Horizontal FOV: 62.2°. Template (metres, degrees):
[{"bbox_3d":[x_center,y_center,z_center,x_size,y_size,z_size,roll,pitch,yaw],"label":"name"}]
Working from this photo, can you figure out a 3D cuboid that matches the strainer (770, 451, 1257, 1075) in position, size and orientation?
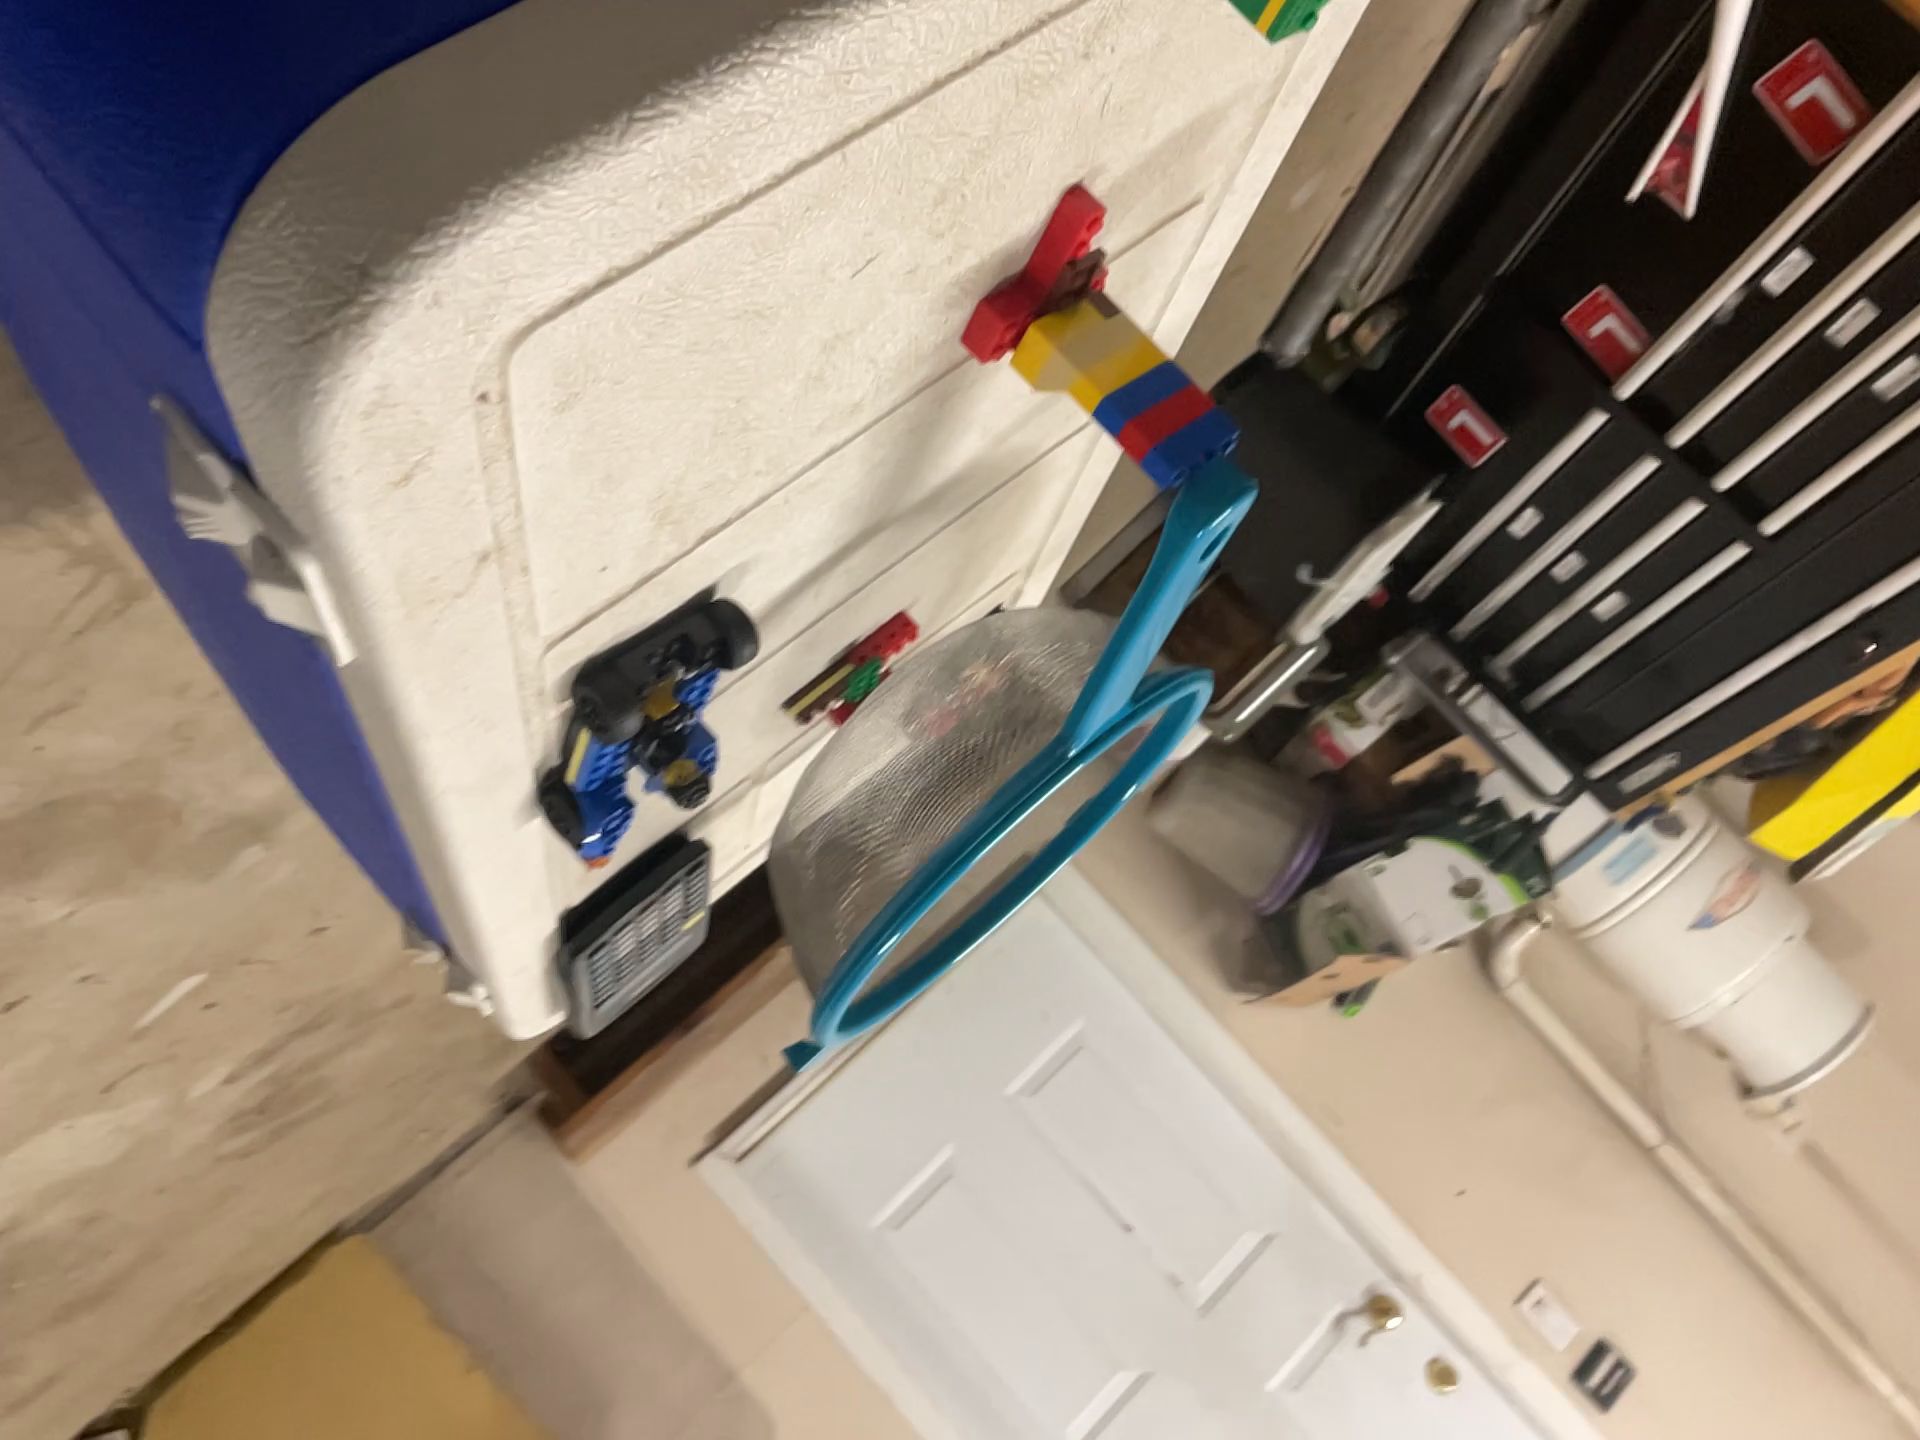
[{"bbox_3d":[0.010,-0.006,0.582,0.211,0.095,0.340,-36,164,-30],"label":"strainer"}]
